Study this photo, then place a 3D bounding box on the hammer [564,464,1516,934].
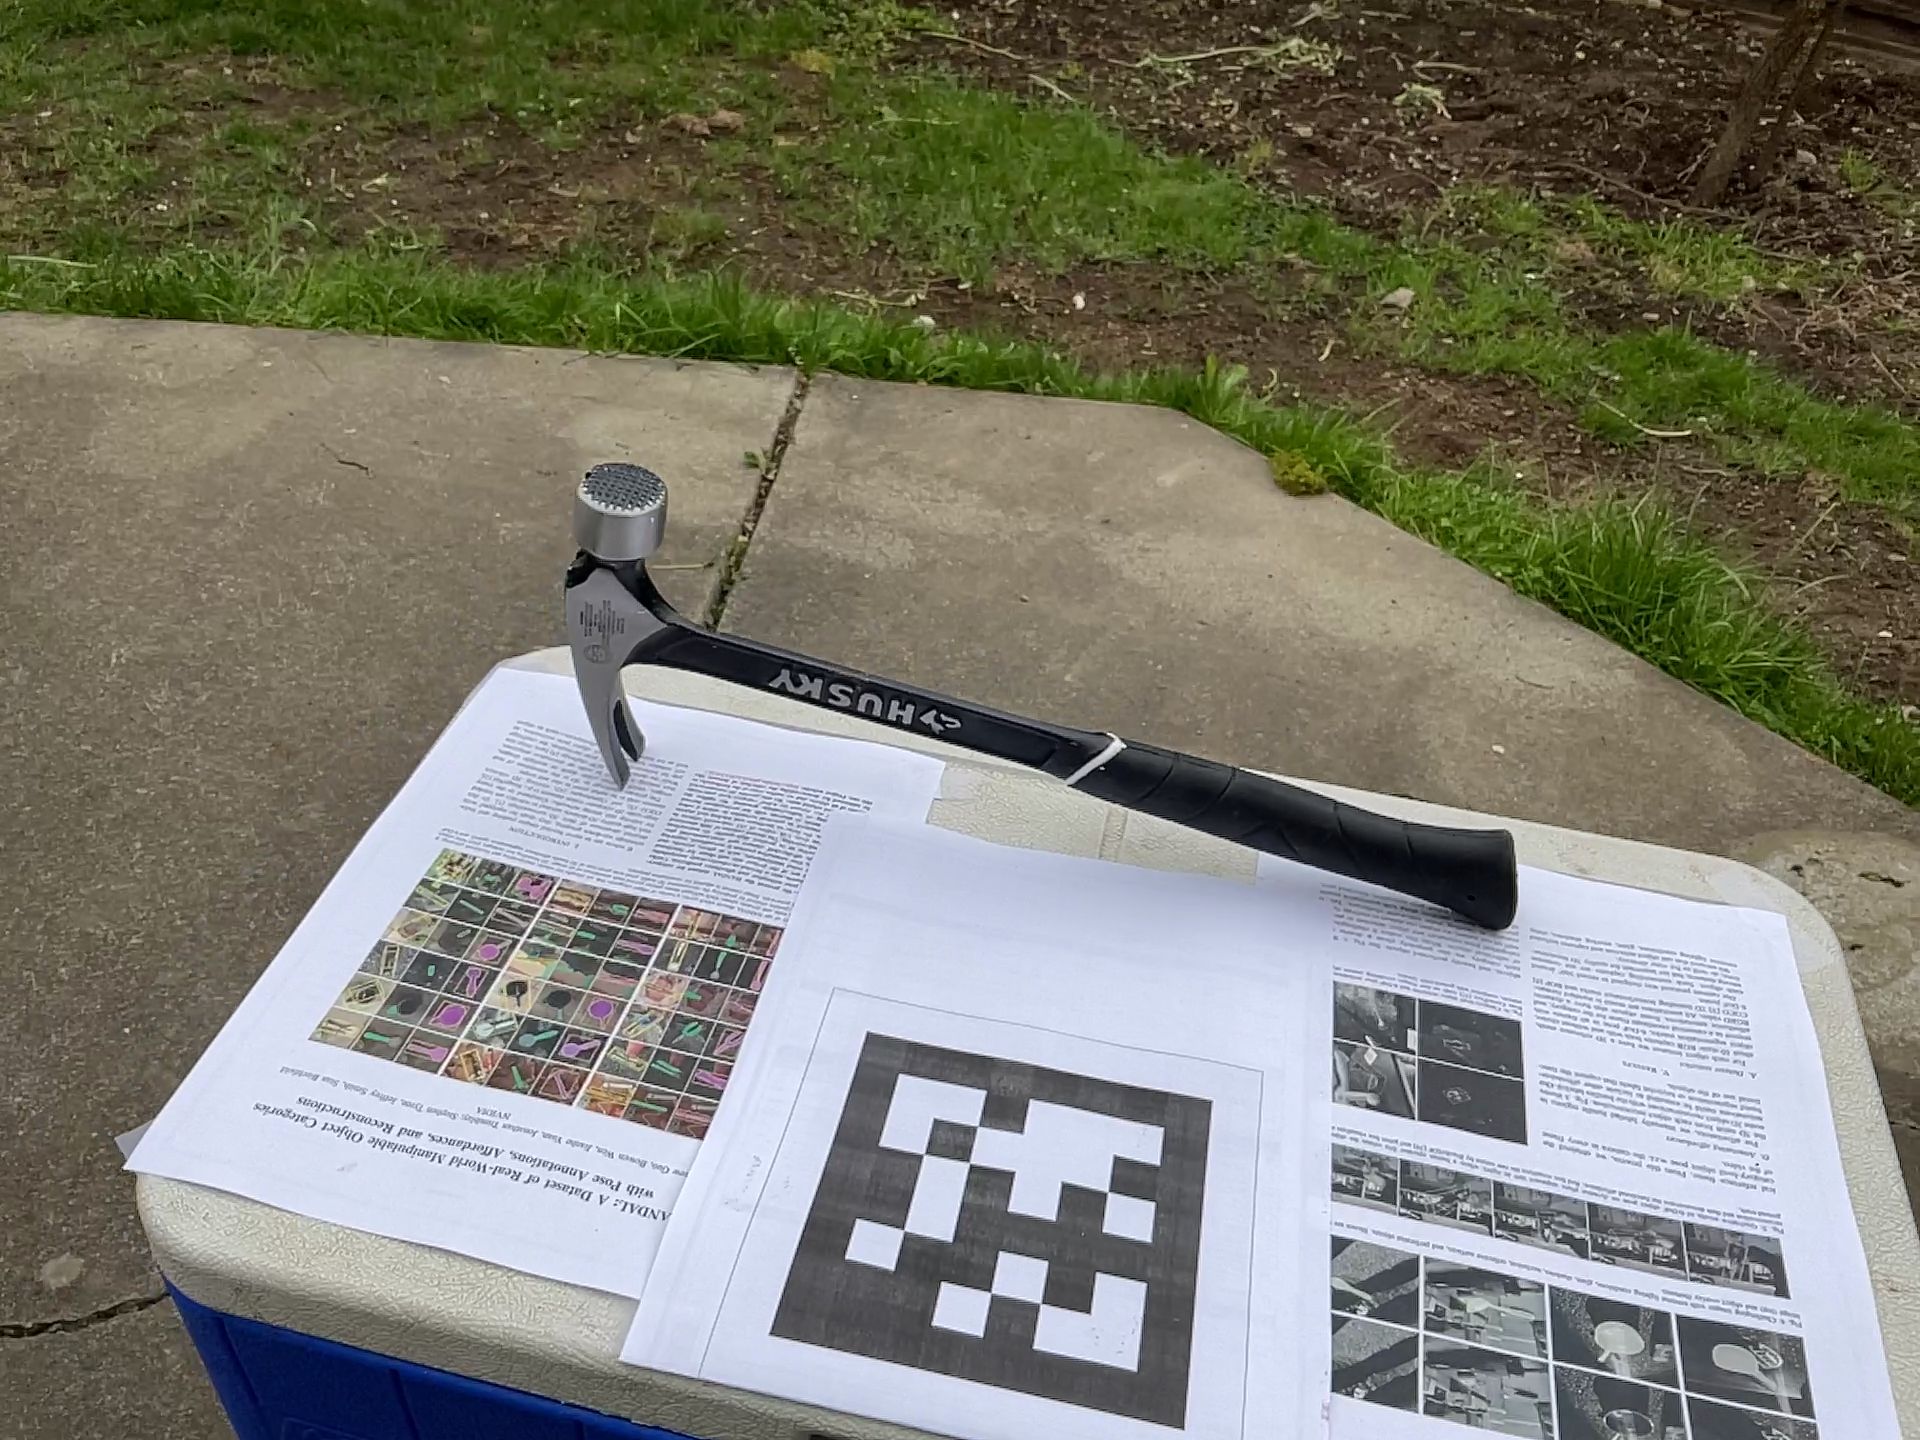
[{"bbox_3d":[0.033,0.017,0.661,0.409,0.149,0.036,17,40,0],"label":"hammer"}]
